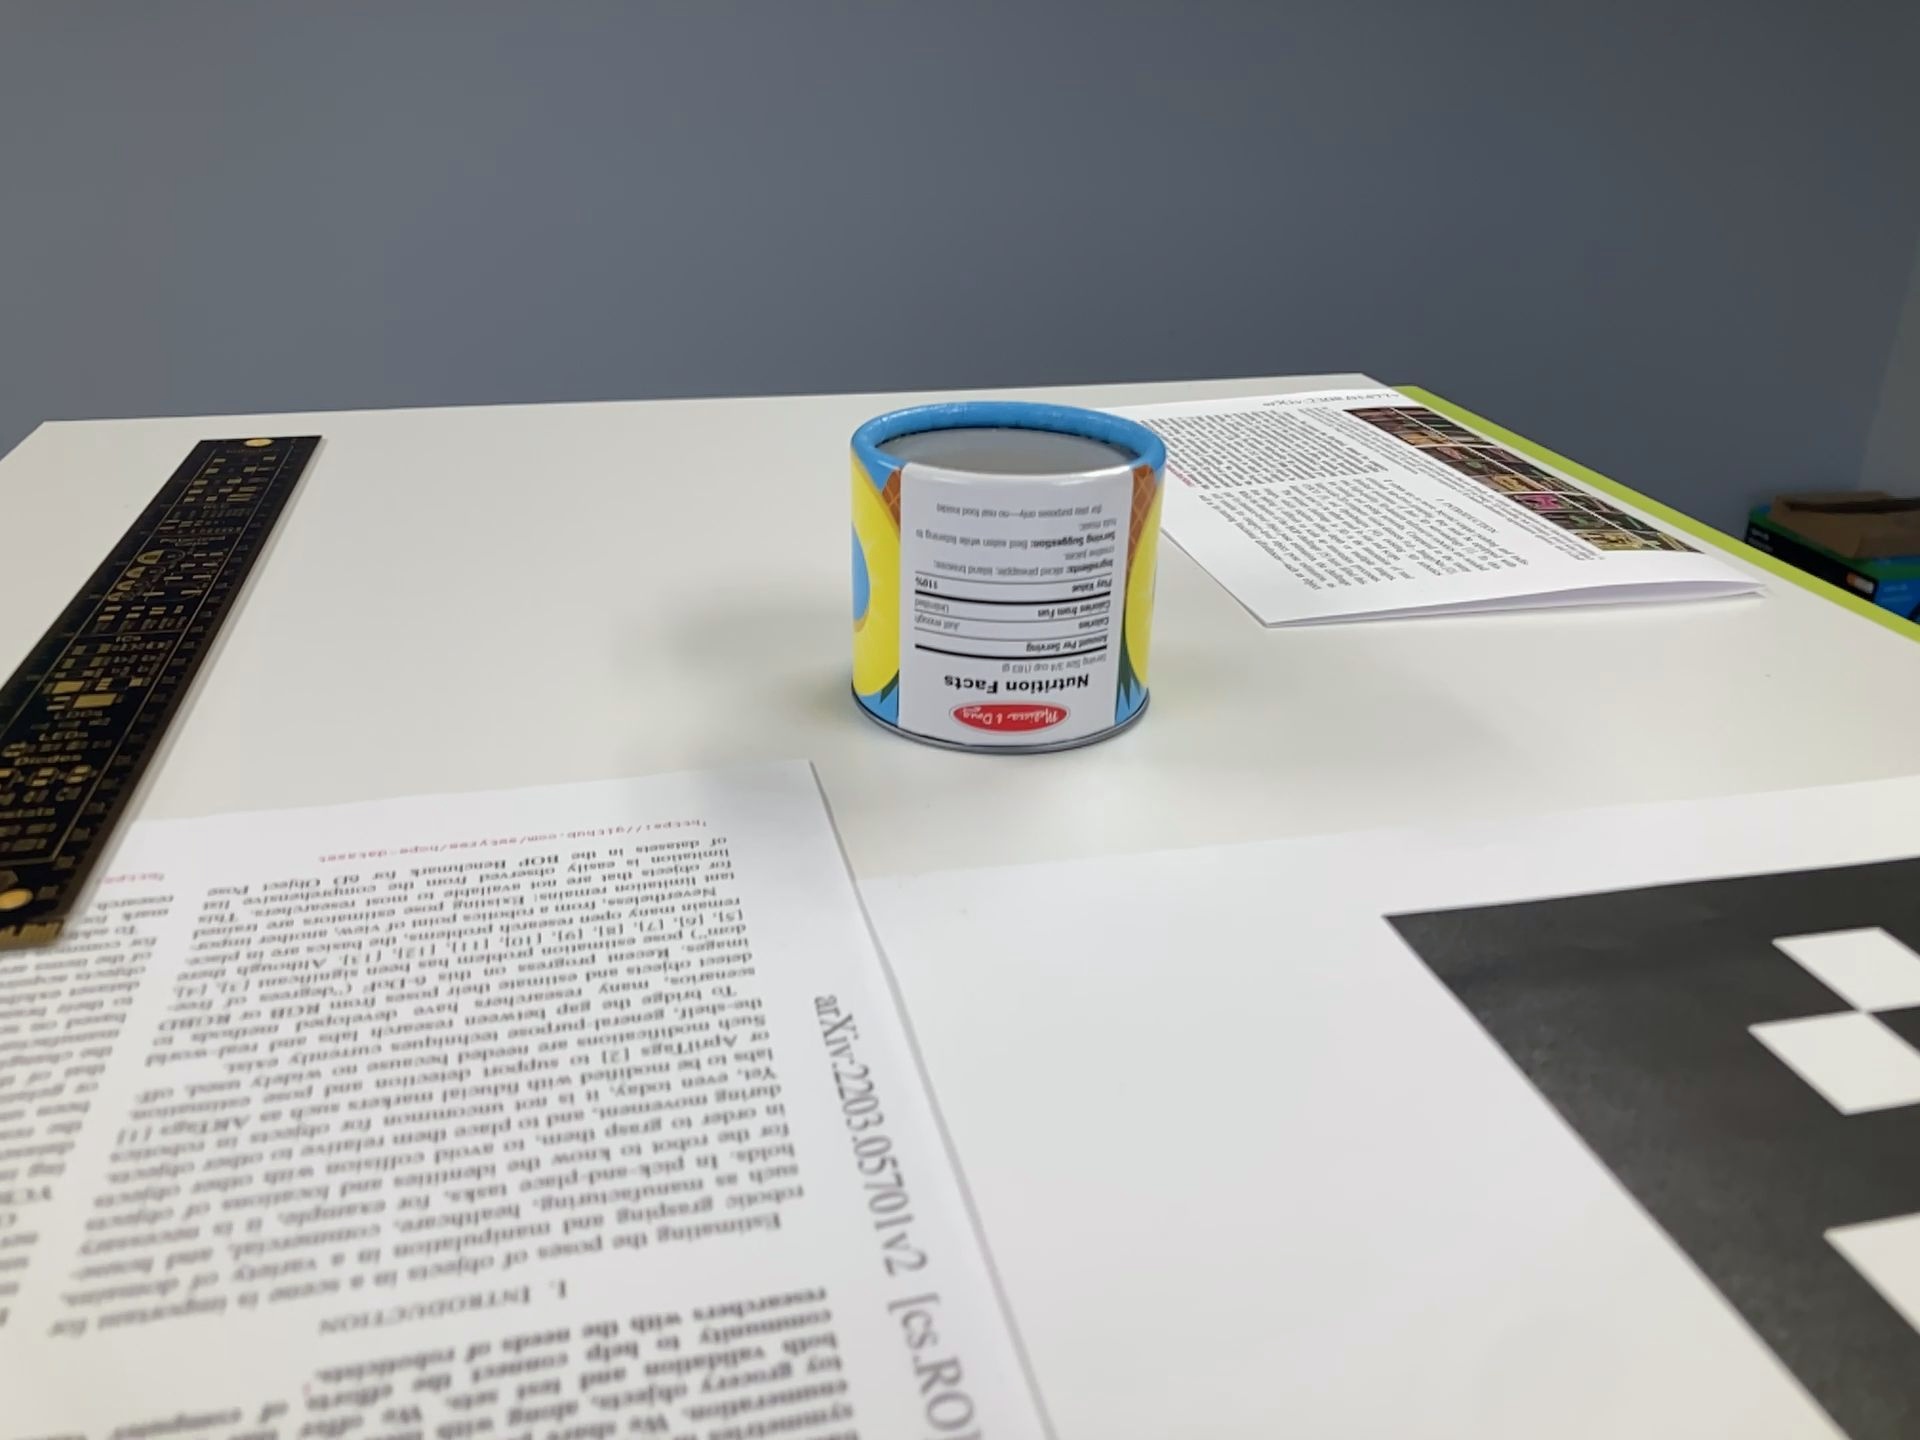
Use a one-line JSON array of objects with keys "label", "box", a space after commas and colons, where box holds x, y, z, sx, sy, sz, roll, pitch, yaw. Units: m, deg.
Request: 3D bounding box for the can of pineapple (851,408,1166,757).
[{"label": "can of pineapple", "box": [0.009, -0.032, 0.342, 0.071, 0.058, 0.071, 1, 24, -1]}]
